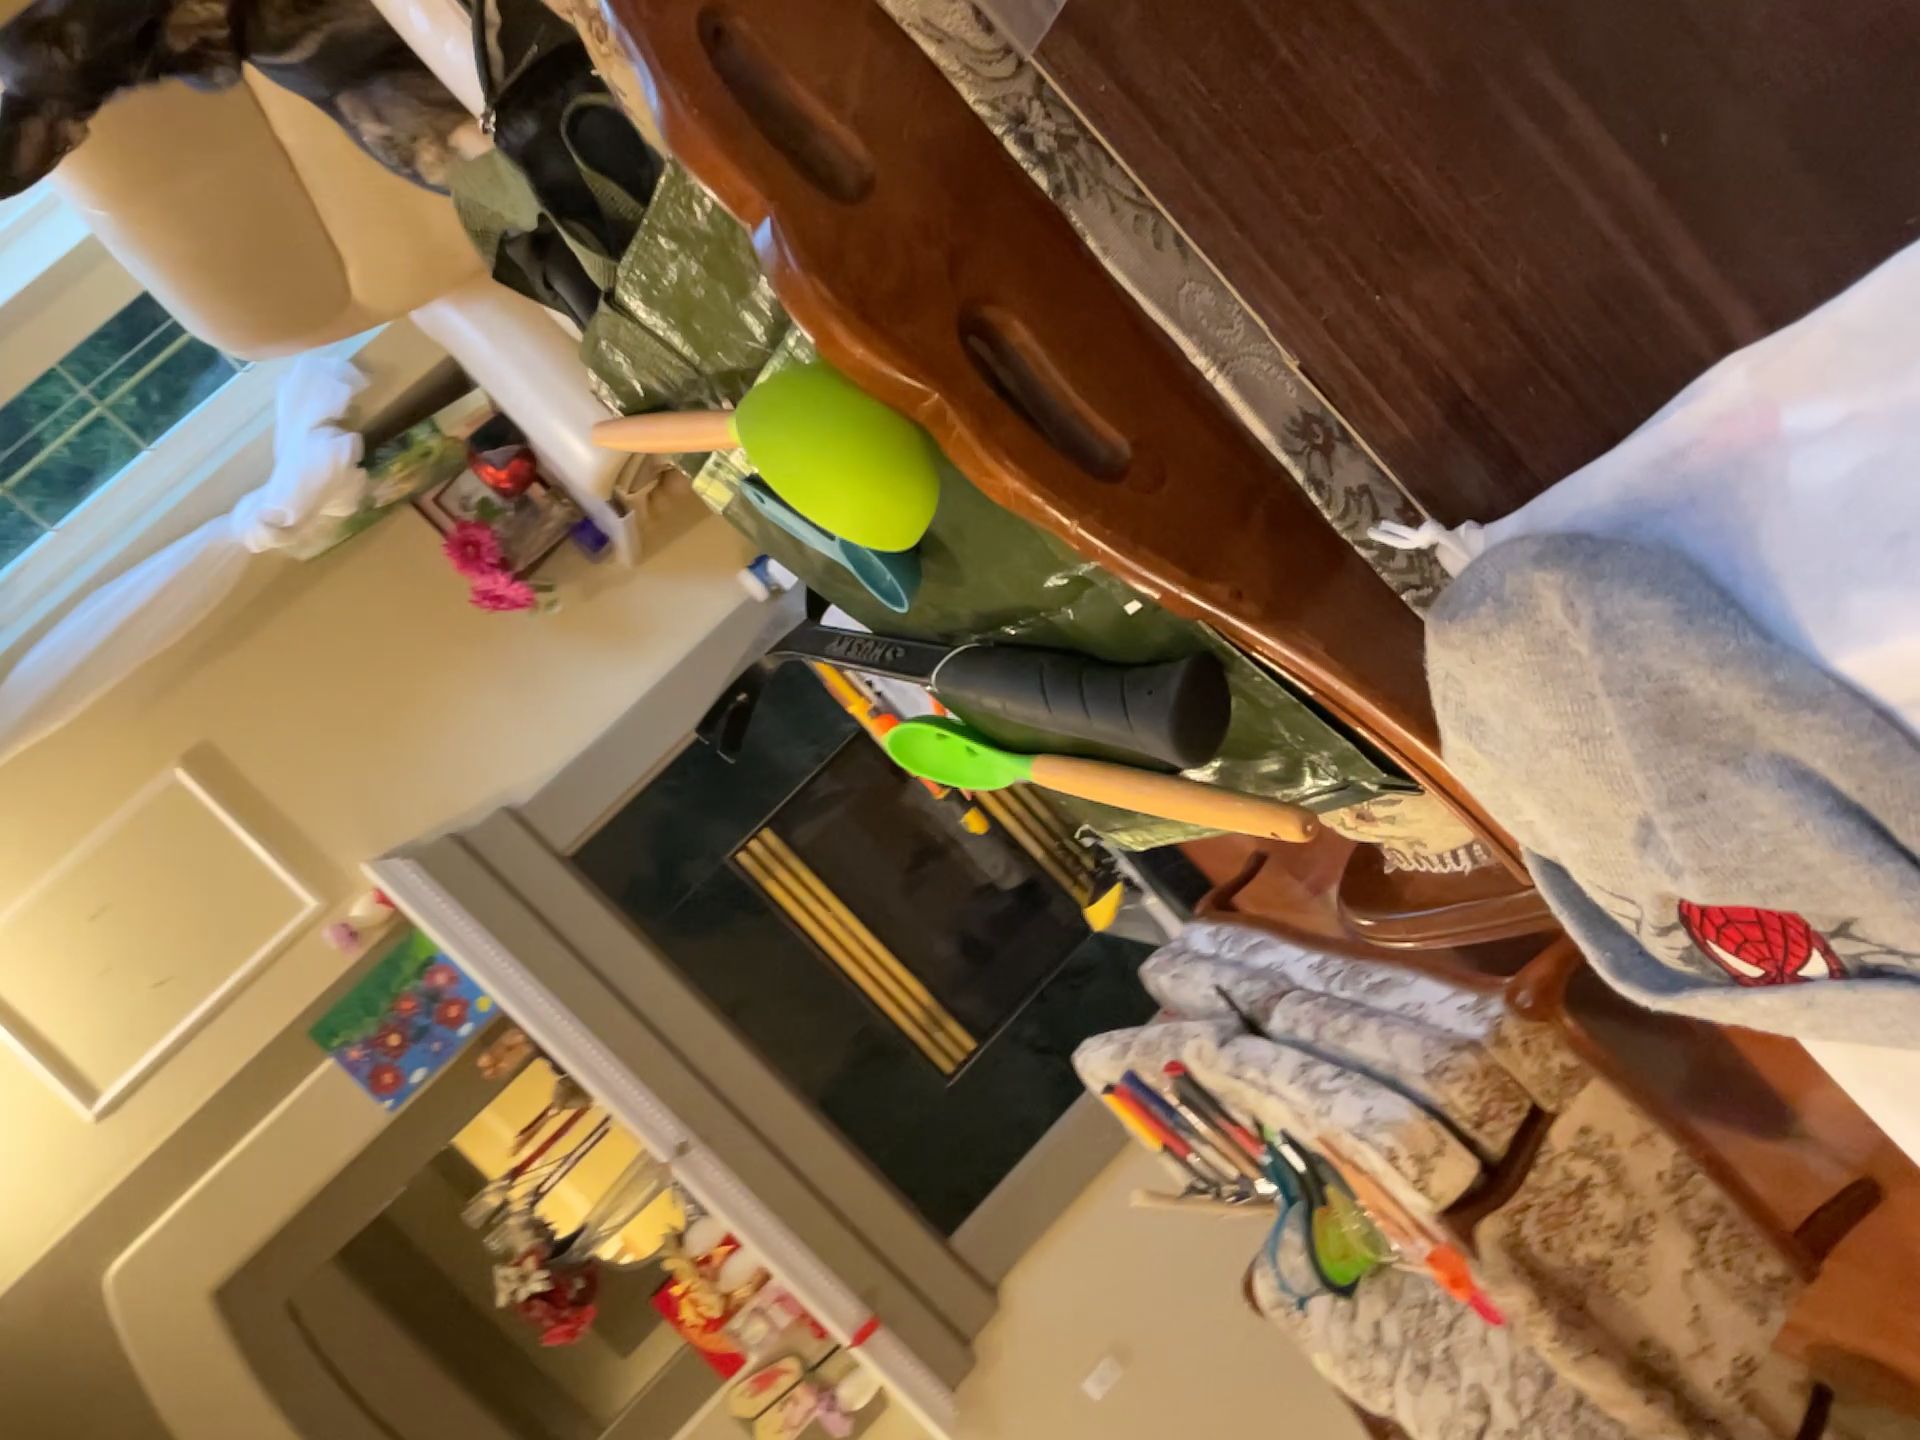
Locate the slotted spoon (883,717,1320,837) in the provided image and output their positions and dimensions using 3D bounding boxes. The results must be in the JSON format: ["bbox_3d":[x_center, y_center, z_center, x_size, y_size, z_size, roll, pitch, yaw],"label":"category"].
[{"bbox_3d":[0.055,0.027,0.744,0.070,0.031,0.314,34,167,-28],"label":"slotted spoon"}]

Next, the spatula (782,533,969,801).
[{"bbox_3d":[-0.086,-0.083,0.999,0.322,0.041,0.081,48,178,4],"label":"spatula"}]

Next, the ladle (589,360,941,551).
[{"bbox_3d":[-0.104,-0.111,0.661,0.078,0.062,0.320,22,176,-31],"label":"ladle"}]

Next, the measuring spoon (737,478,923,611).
[{"bbox_3d":[-0.055,-0.085,0.677,0.129,0.021,0.042,35,163,42],"label":"measuring spoon"}]

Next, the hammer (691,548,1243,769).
[{"bbox_3d":[-0.011,-0.022,0.741,0.036,0.149,0.409,41,167,-28],"label":"hammer"}]
